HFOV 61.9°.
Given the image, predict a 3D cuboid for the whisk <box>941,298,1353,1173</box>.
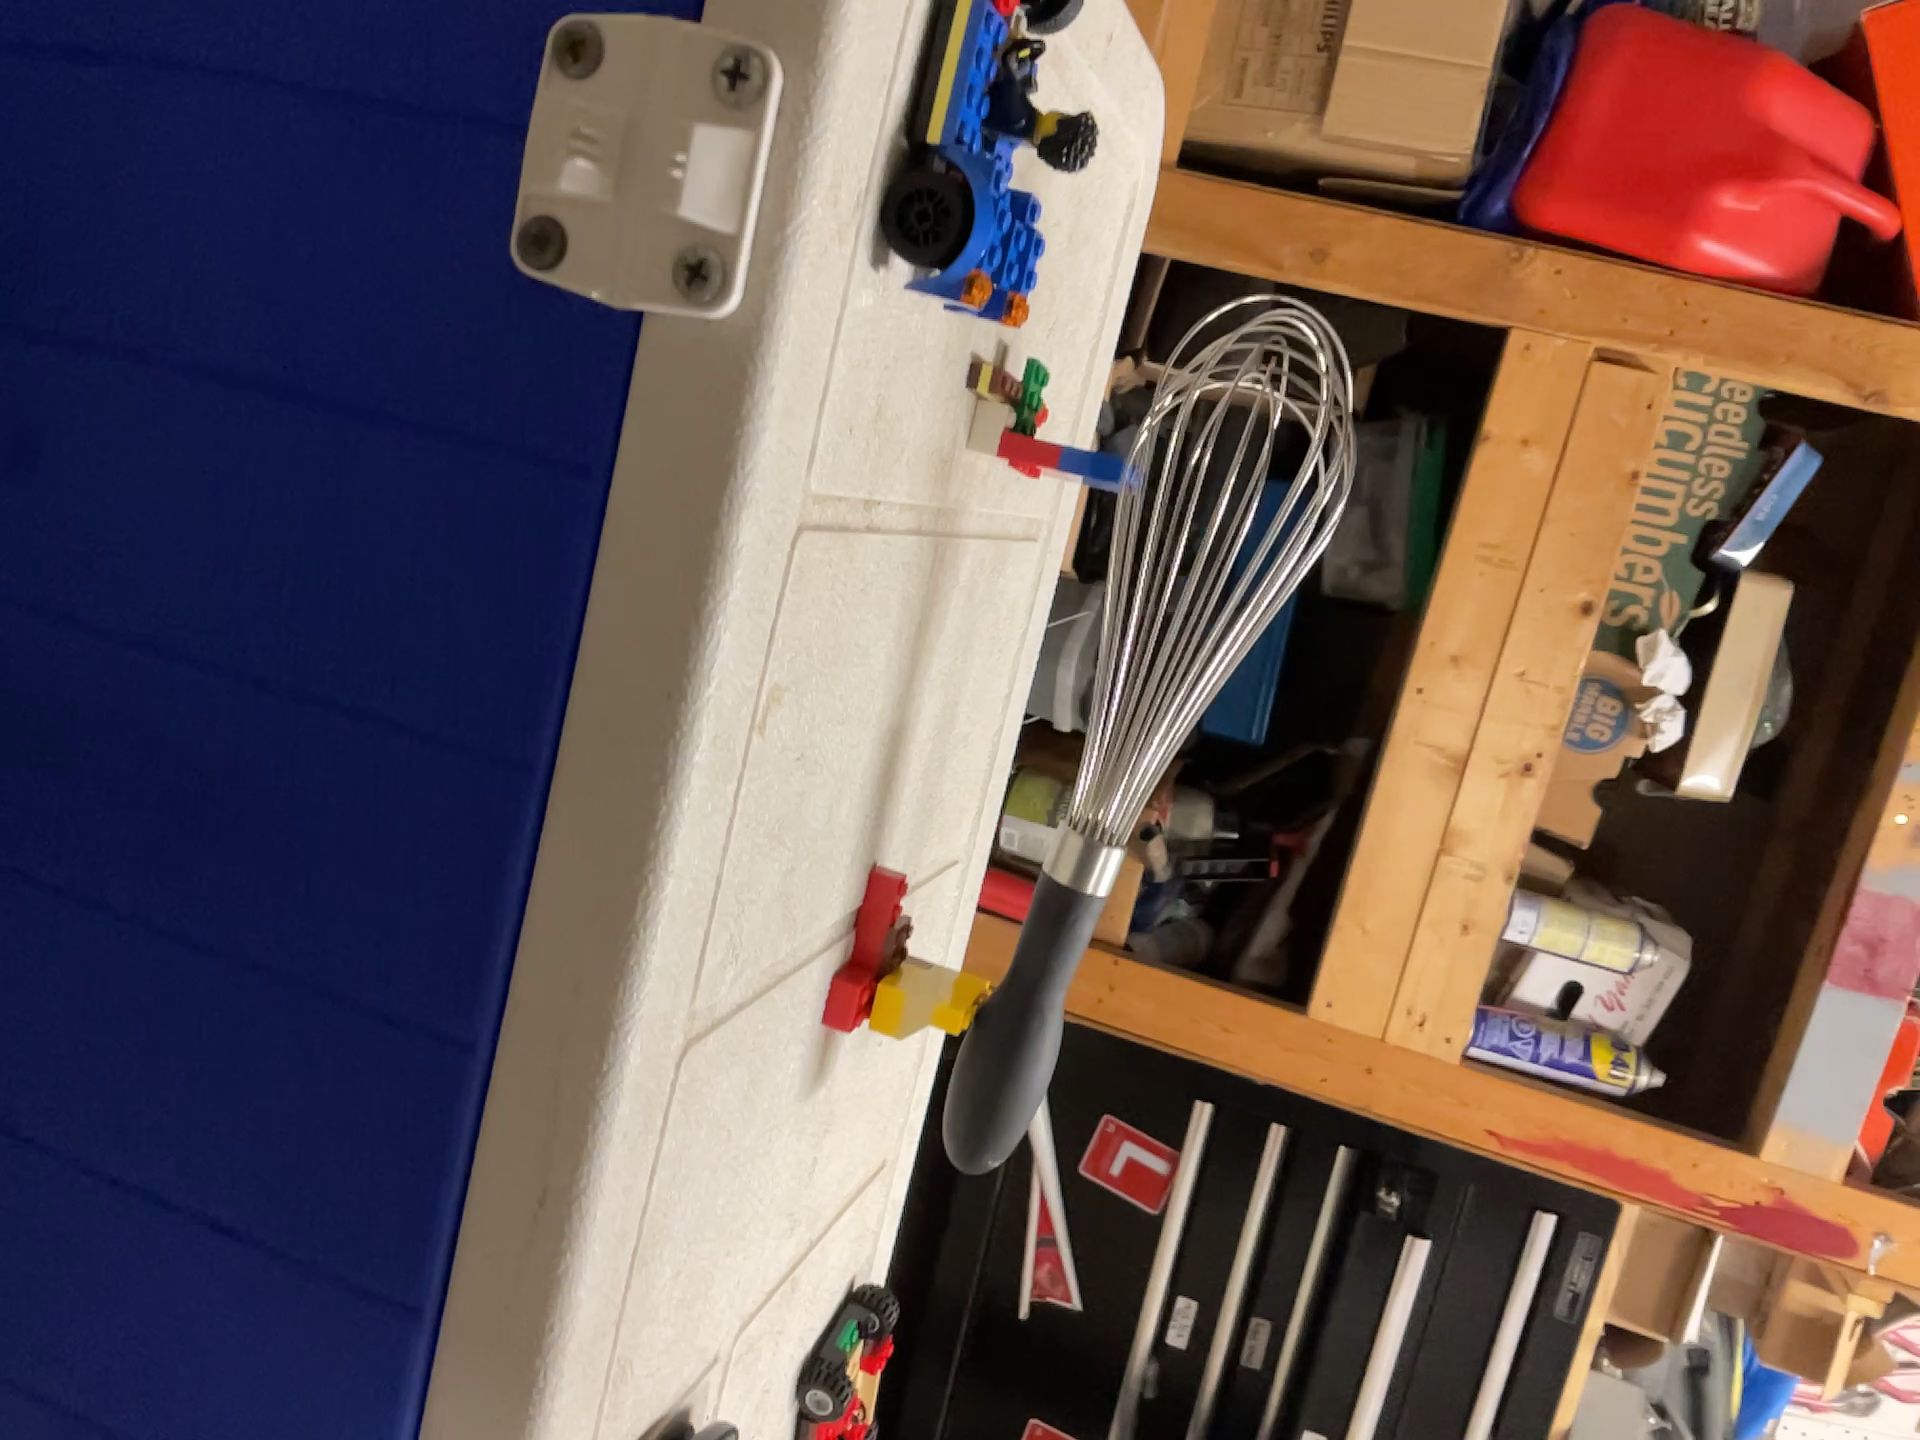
[{"bbox_3d":[0.050,0.012,0.486,0.070,0.070,0.284,-37,147,-76],"label":"whisk"}]
